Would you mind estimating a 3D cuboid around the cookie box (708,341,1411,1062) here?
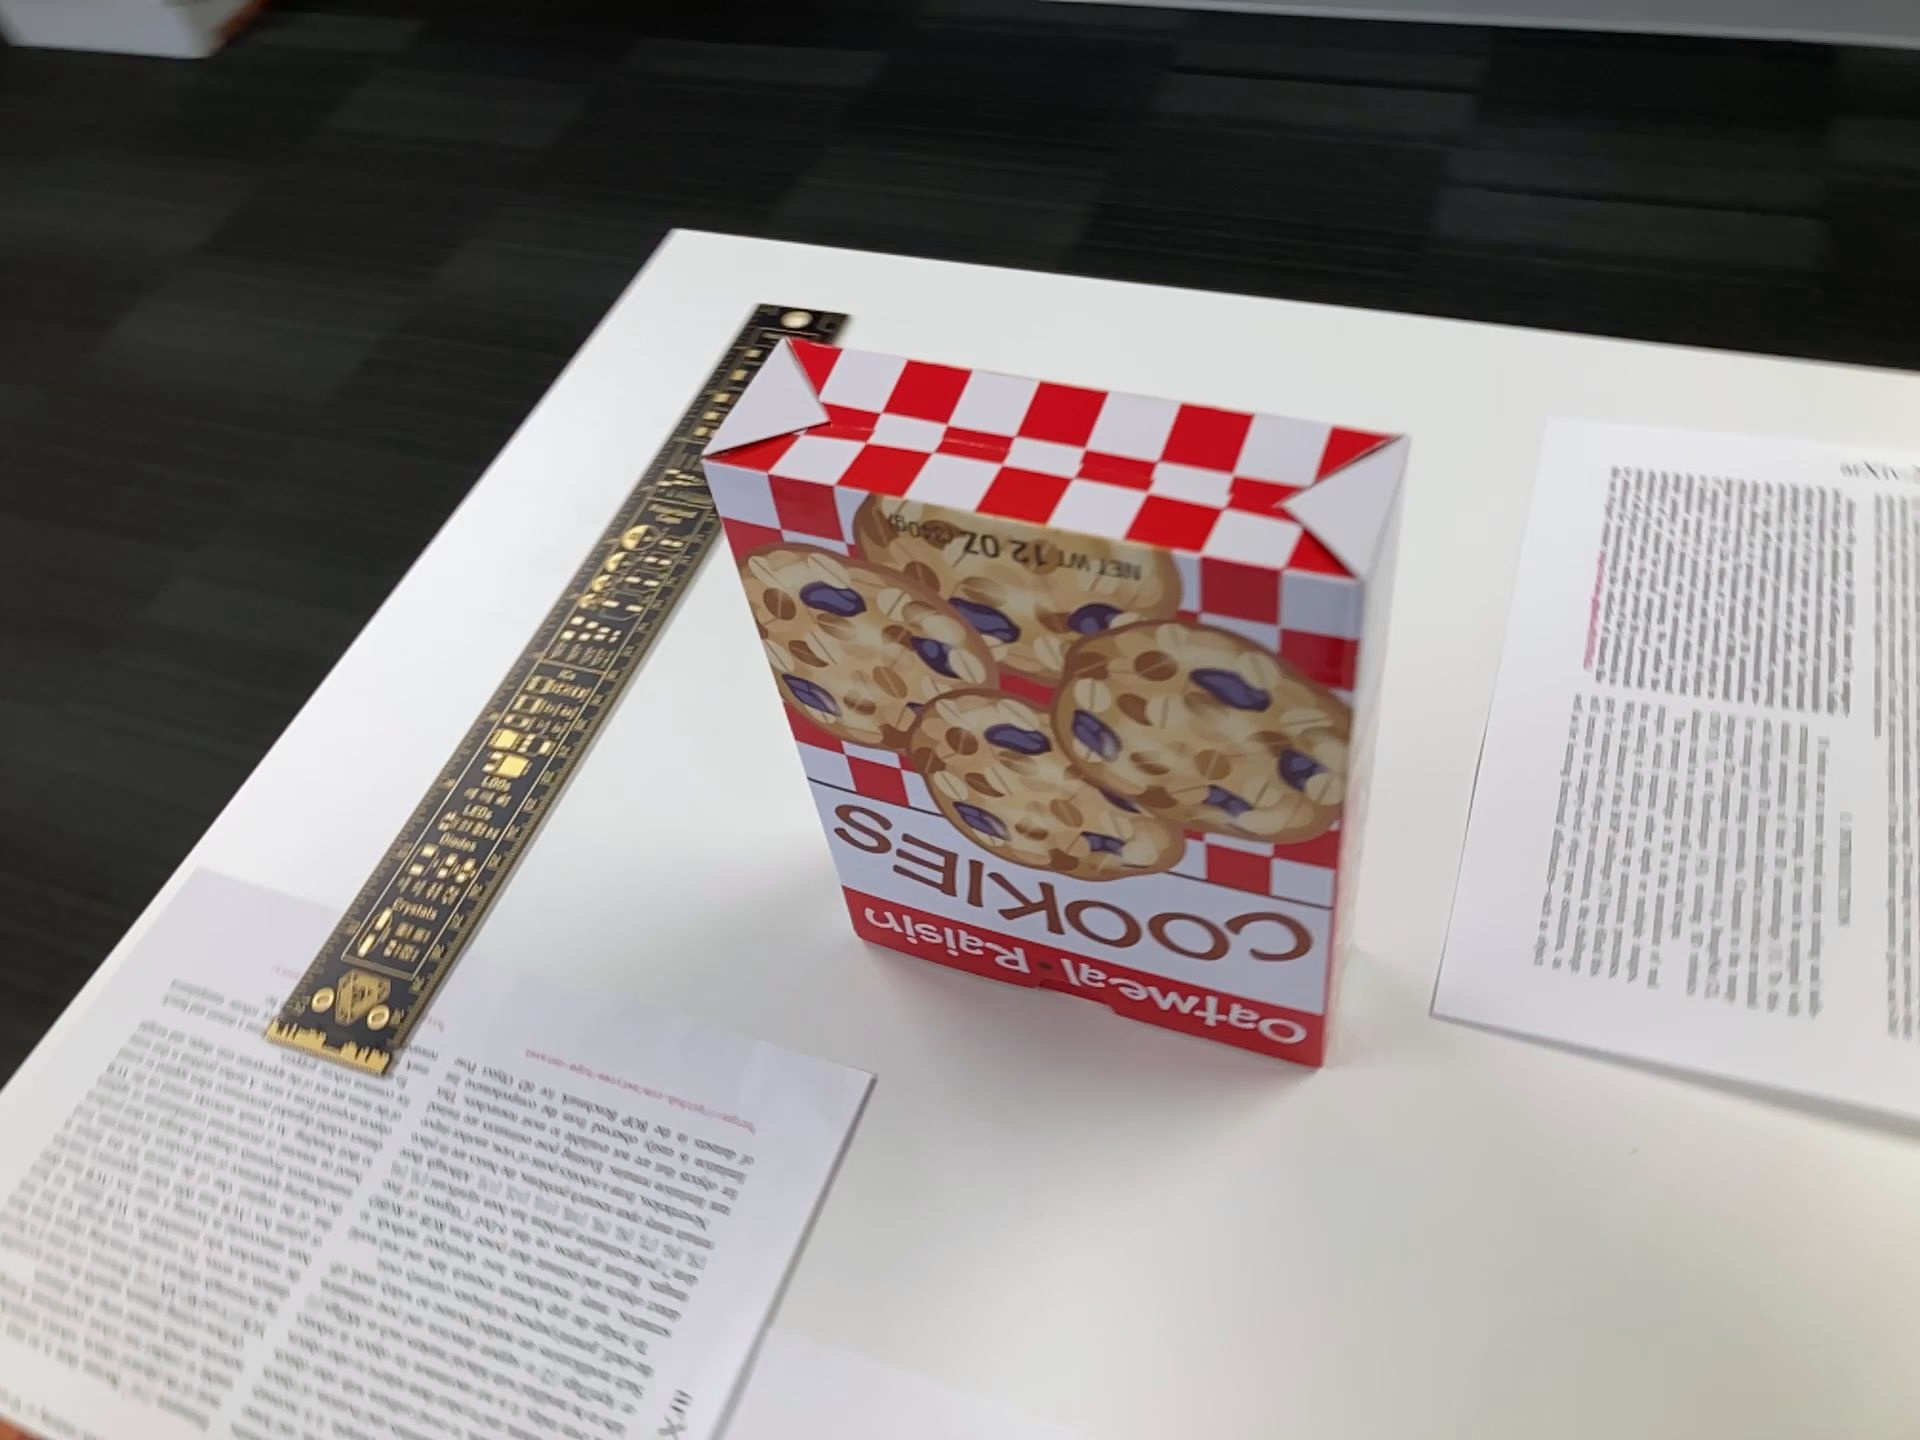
[{"bbox_3d":[0.025,0.005,0.345,0.123,0.167,0.040,13,54,19],"label":"cookie box"}]
